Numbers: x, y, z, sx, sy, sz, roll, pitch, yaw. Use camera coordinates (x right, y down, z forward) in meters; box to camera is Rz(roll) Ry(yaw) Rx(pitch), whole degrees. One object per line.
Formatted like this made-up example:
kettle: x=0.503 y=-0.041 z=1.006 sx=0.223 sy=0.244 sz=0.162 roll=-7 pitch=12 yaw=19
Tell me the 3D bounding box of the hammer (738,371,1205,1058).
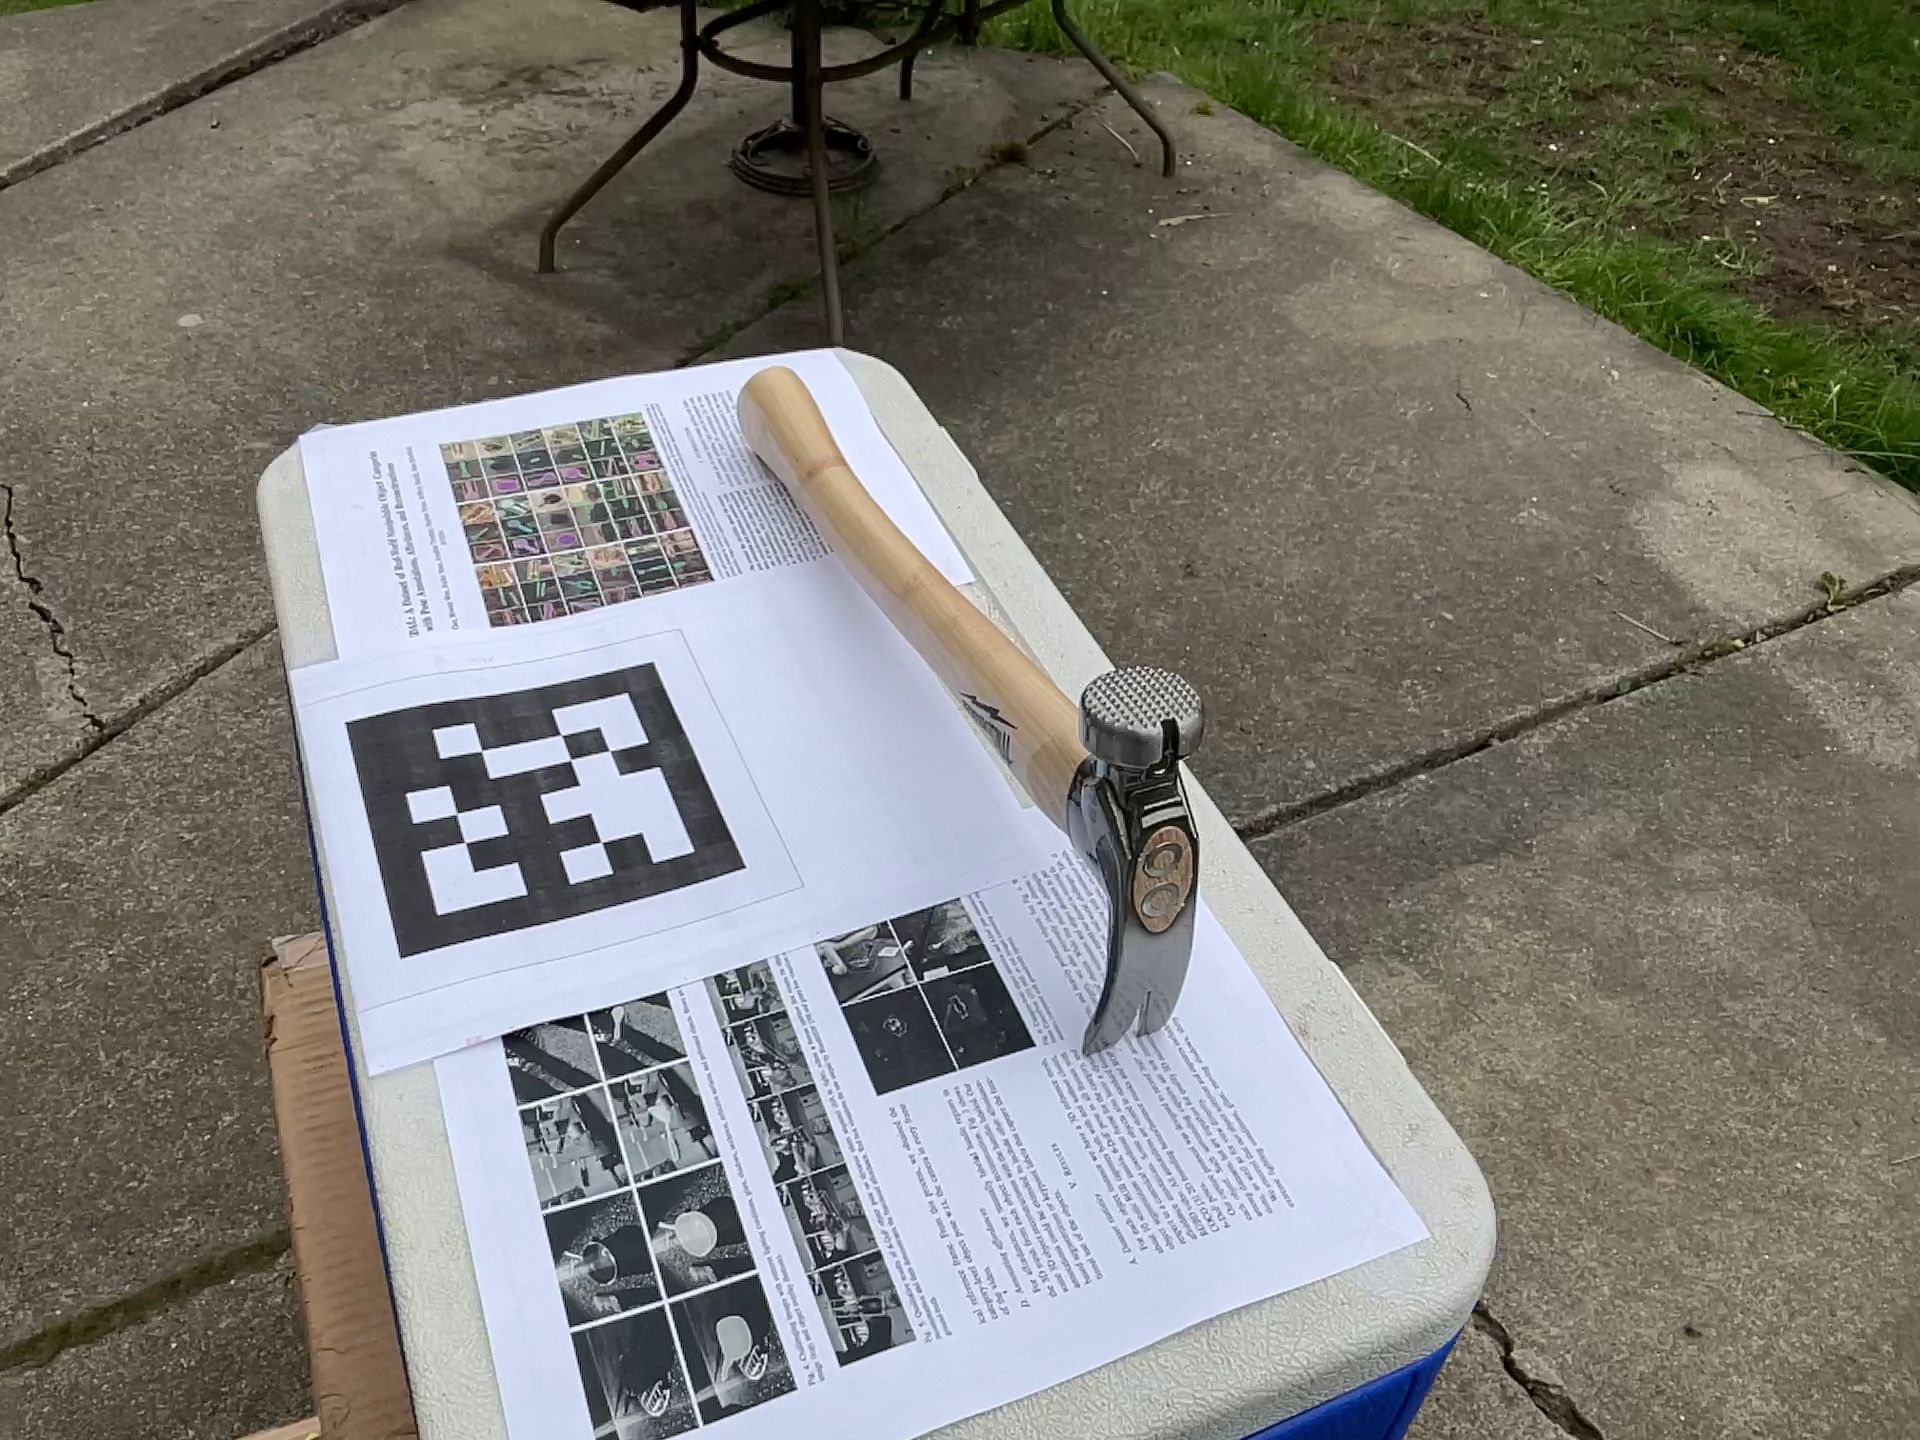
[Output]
hammer: x=-0.018 y=-0.041 z=0.668 sx=0.038 sy=0.146 sz=0.411 roll=-14 pitch=36 yaw=-19
